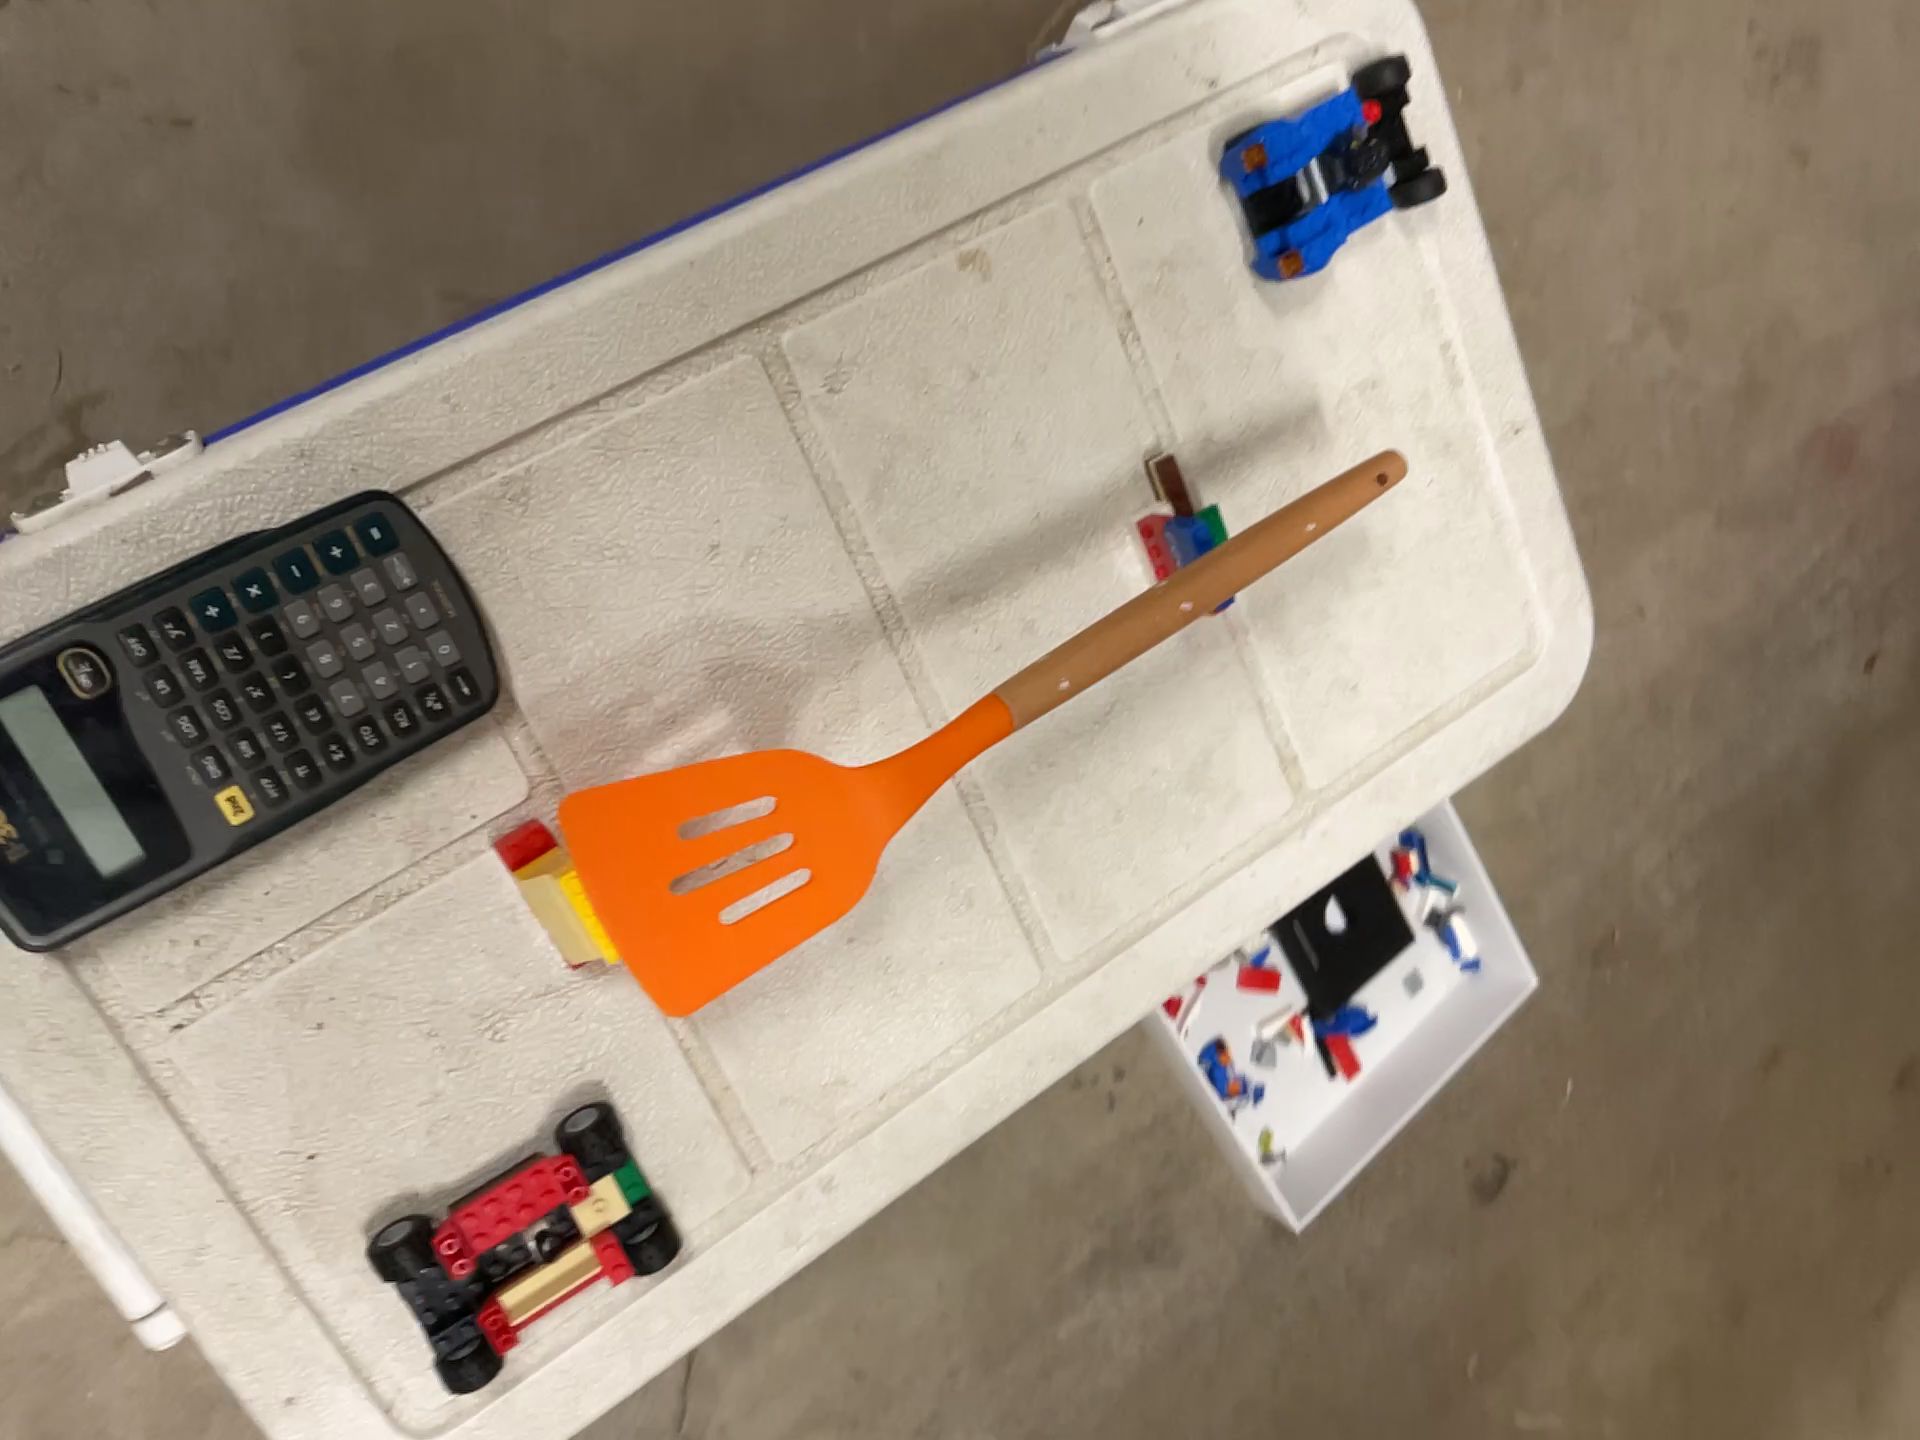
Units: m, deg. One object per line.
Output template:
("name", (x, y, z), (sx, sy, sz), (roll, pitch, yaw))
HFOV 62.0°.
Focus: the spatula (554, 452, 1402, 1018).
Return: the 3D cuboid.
("spatula", (0.026, -0.016, 0.527), (0.323, 0.041, 0.081), (-32, 110, -23))
